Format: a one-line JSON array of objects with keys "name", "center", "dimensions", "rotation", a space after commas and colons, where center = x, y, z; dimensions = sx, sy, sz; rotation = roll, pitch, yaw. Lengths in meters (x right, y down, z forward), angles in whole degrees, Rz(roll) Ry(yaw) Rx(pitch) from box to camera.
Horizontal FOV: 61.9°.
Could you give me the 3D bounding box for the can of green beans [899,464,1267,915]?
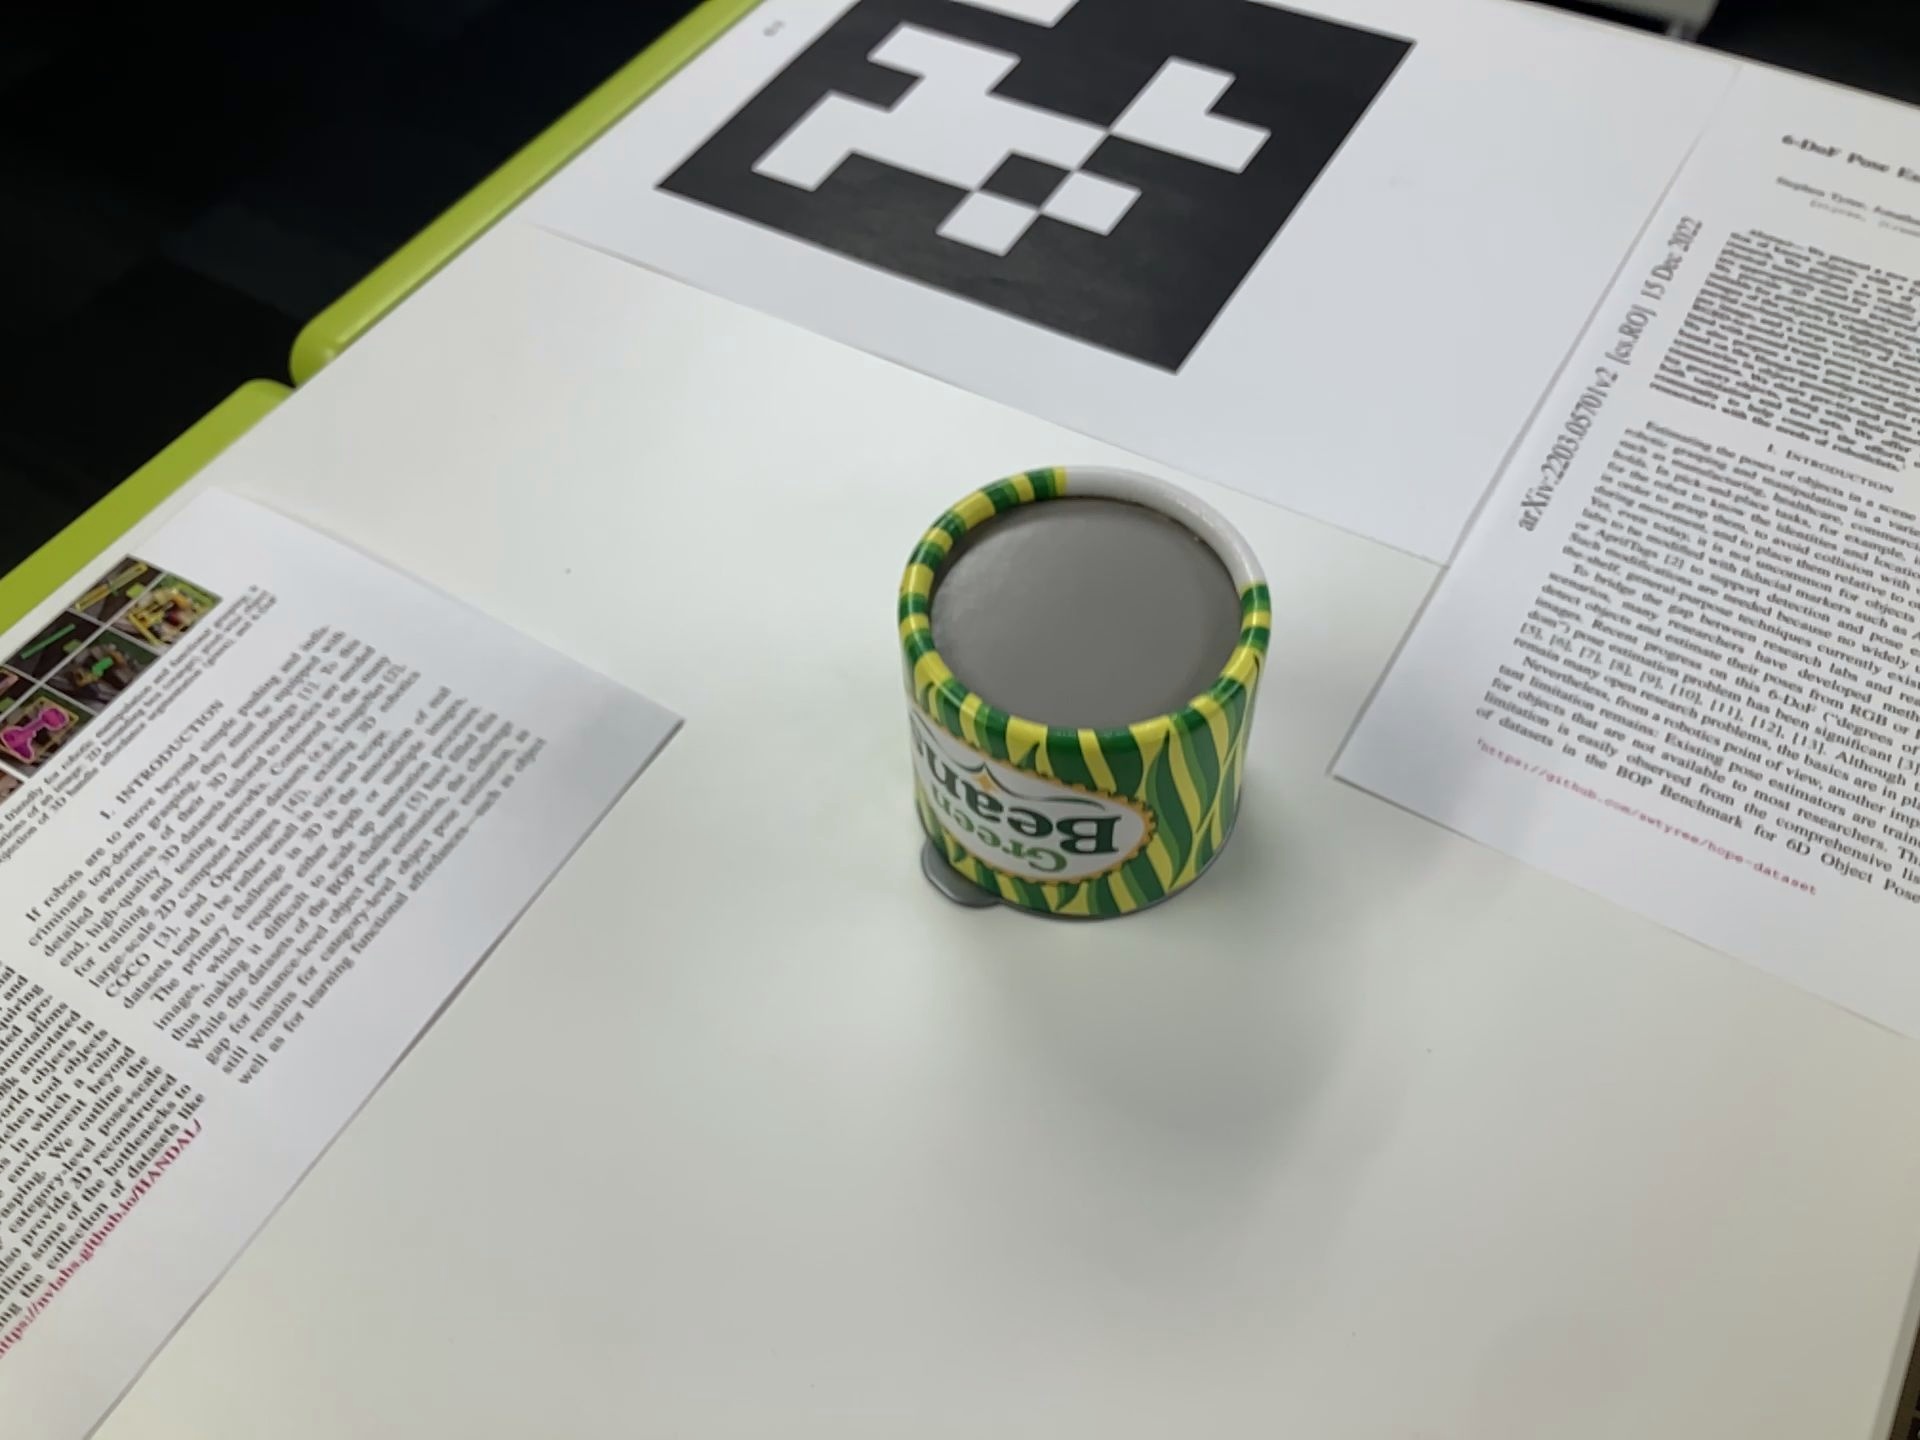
[{"name": "can of green beans", "center": [0.022, -0.006, 0.305], "dimensions": [0.071, 0.058, 0.071], "rotation": [-1, 54, 2]}]
